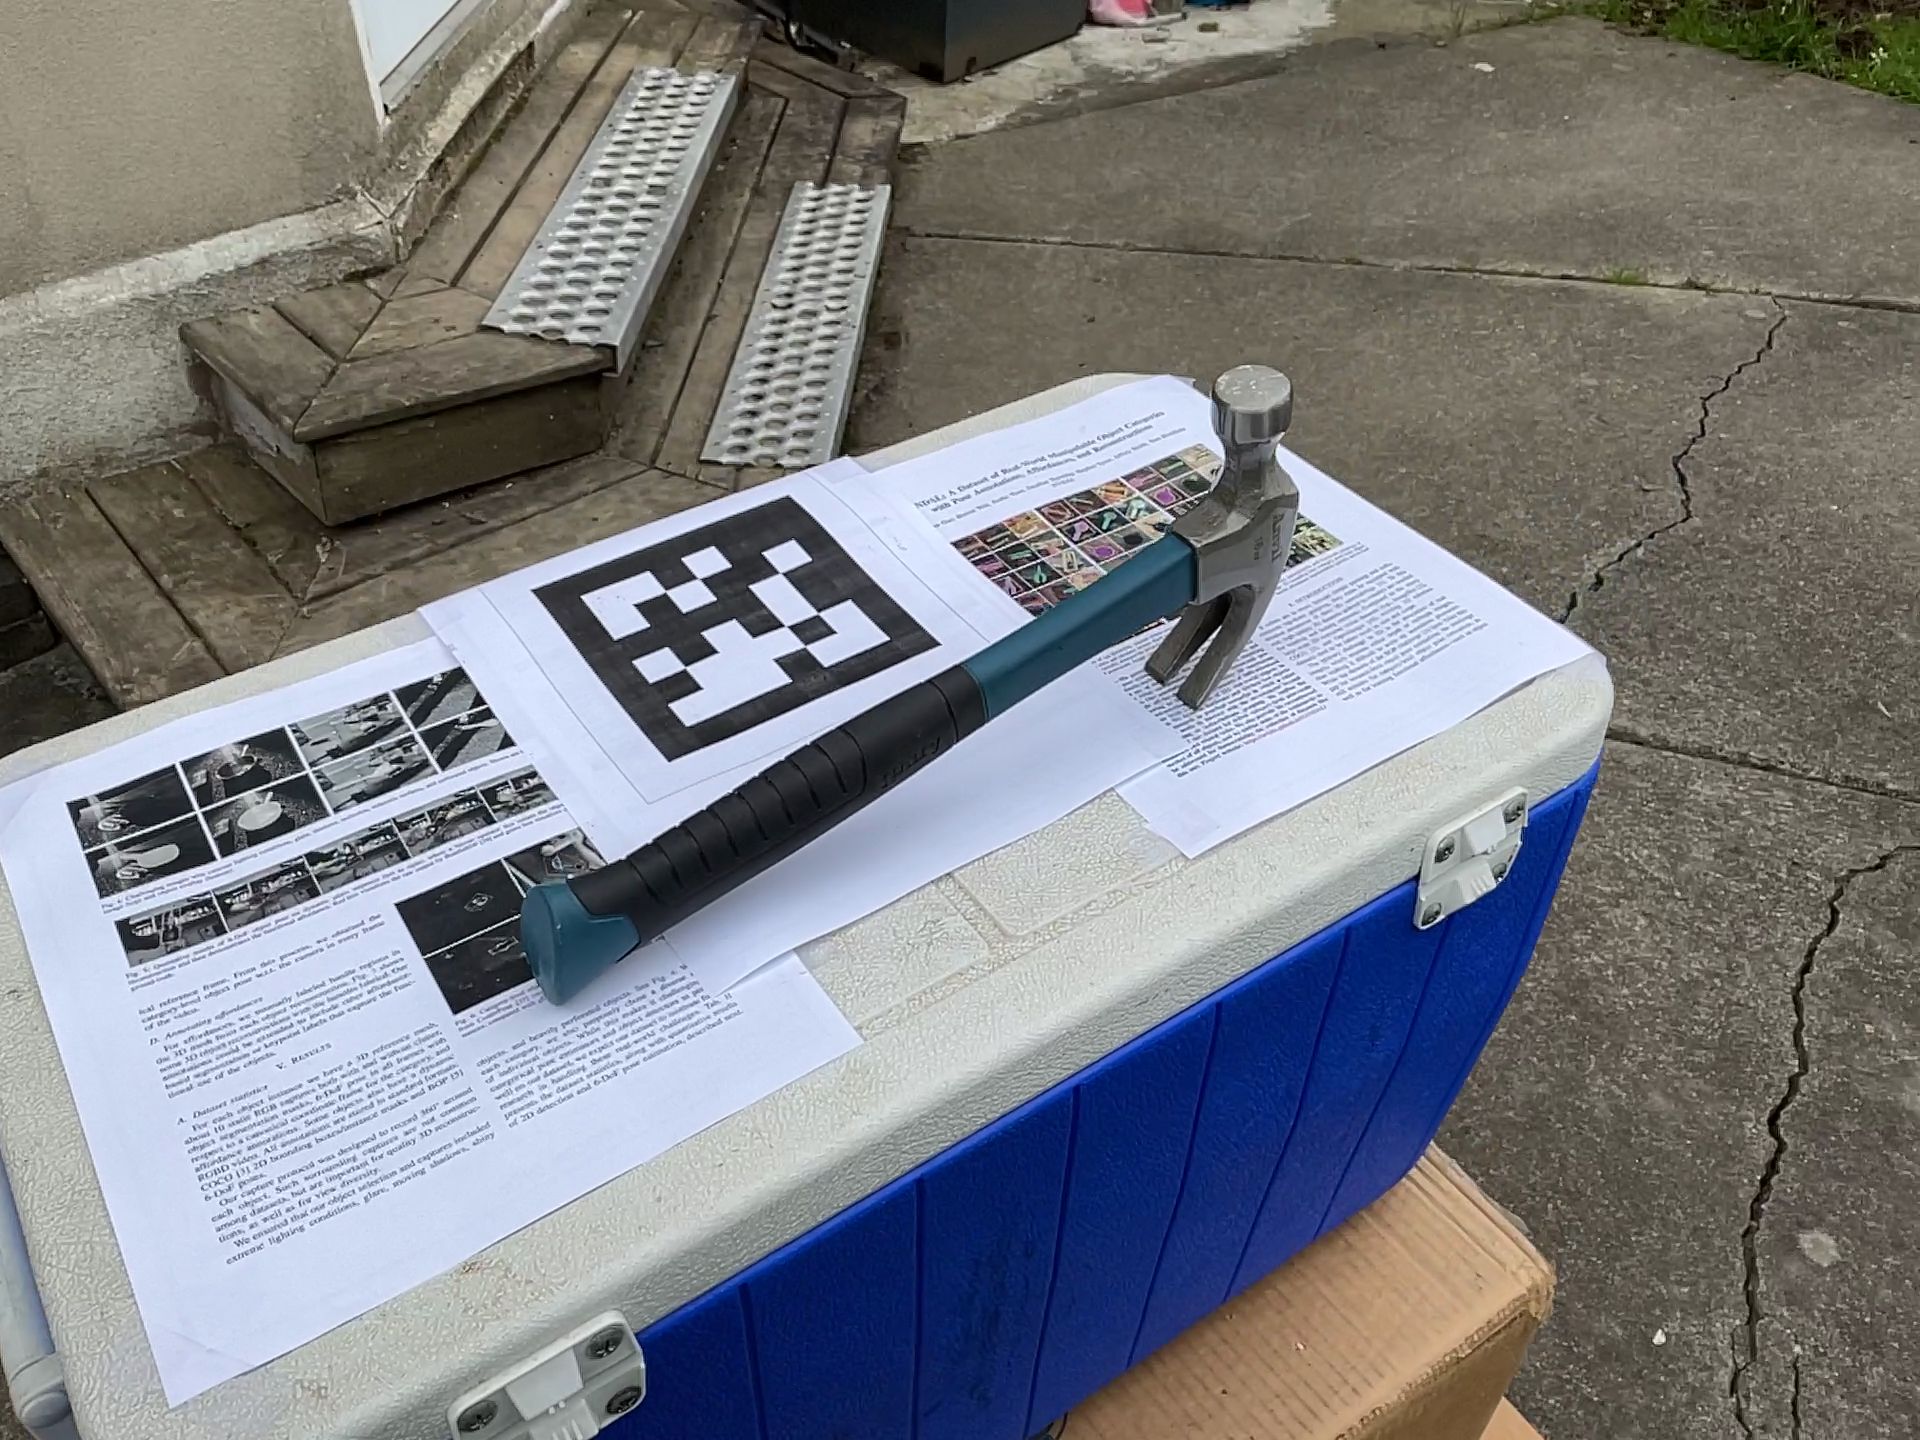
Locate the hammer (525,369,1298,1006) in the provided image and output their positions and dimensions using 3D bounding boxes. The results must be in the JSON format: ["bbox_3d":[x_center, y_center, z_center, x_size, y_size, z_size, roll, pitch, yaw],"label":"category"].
[{"bbox_3d":[-0.007,-0.003,0.578,0.331,0.128,0.033,-31,49,-19],"label":"hammer"}]
